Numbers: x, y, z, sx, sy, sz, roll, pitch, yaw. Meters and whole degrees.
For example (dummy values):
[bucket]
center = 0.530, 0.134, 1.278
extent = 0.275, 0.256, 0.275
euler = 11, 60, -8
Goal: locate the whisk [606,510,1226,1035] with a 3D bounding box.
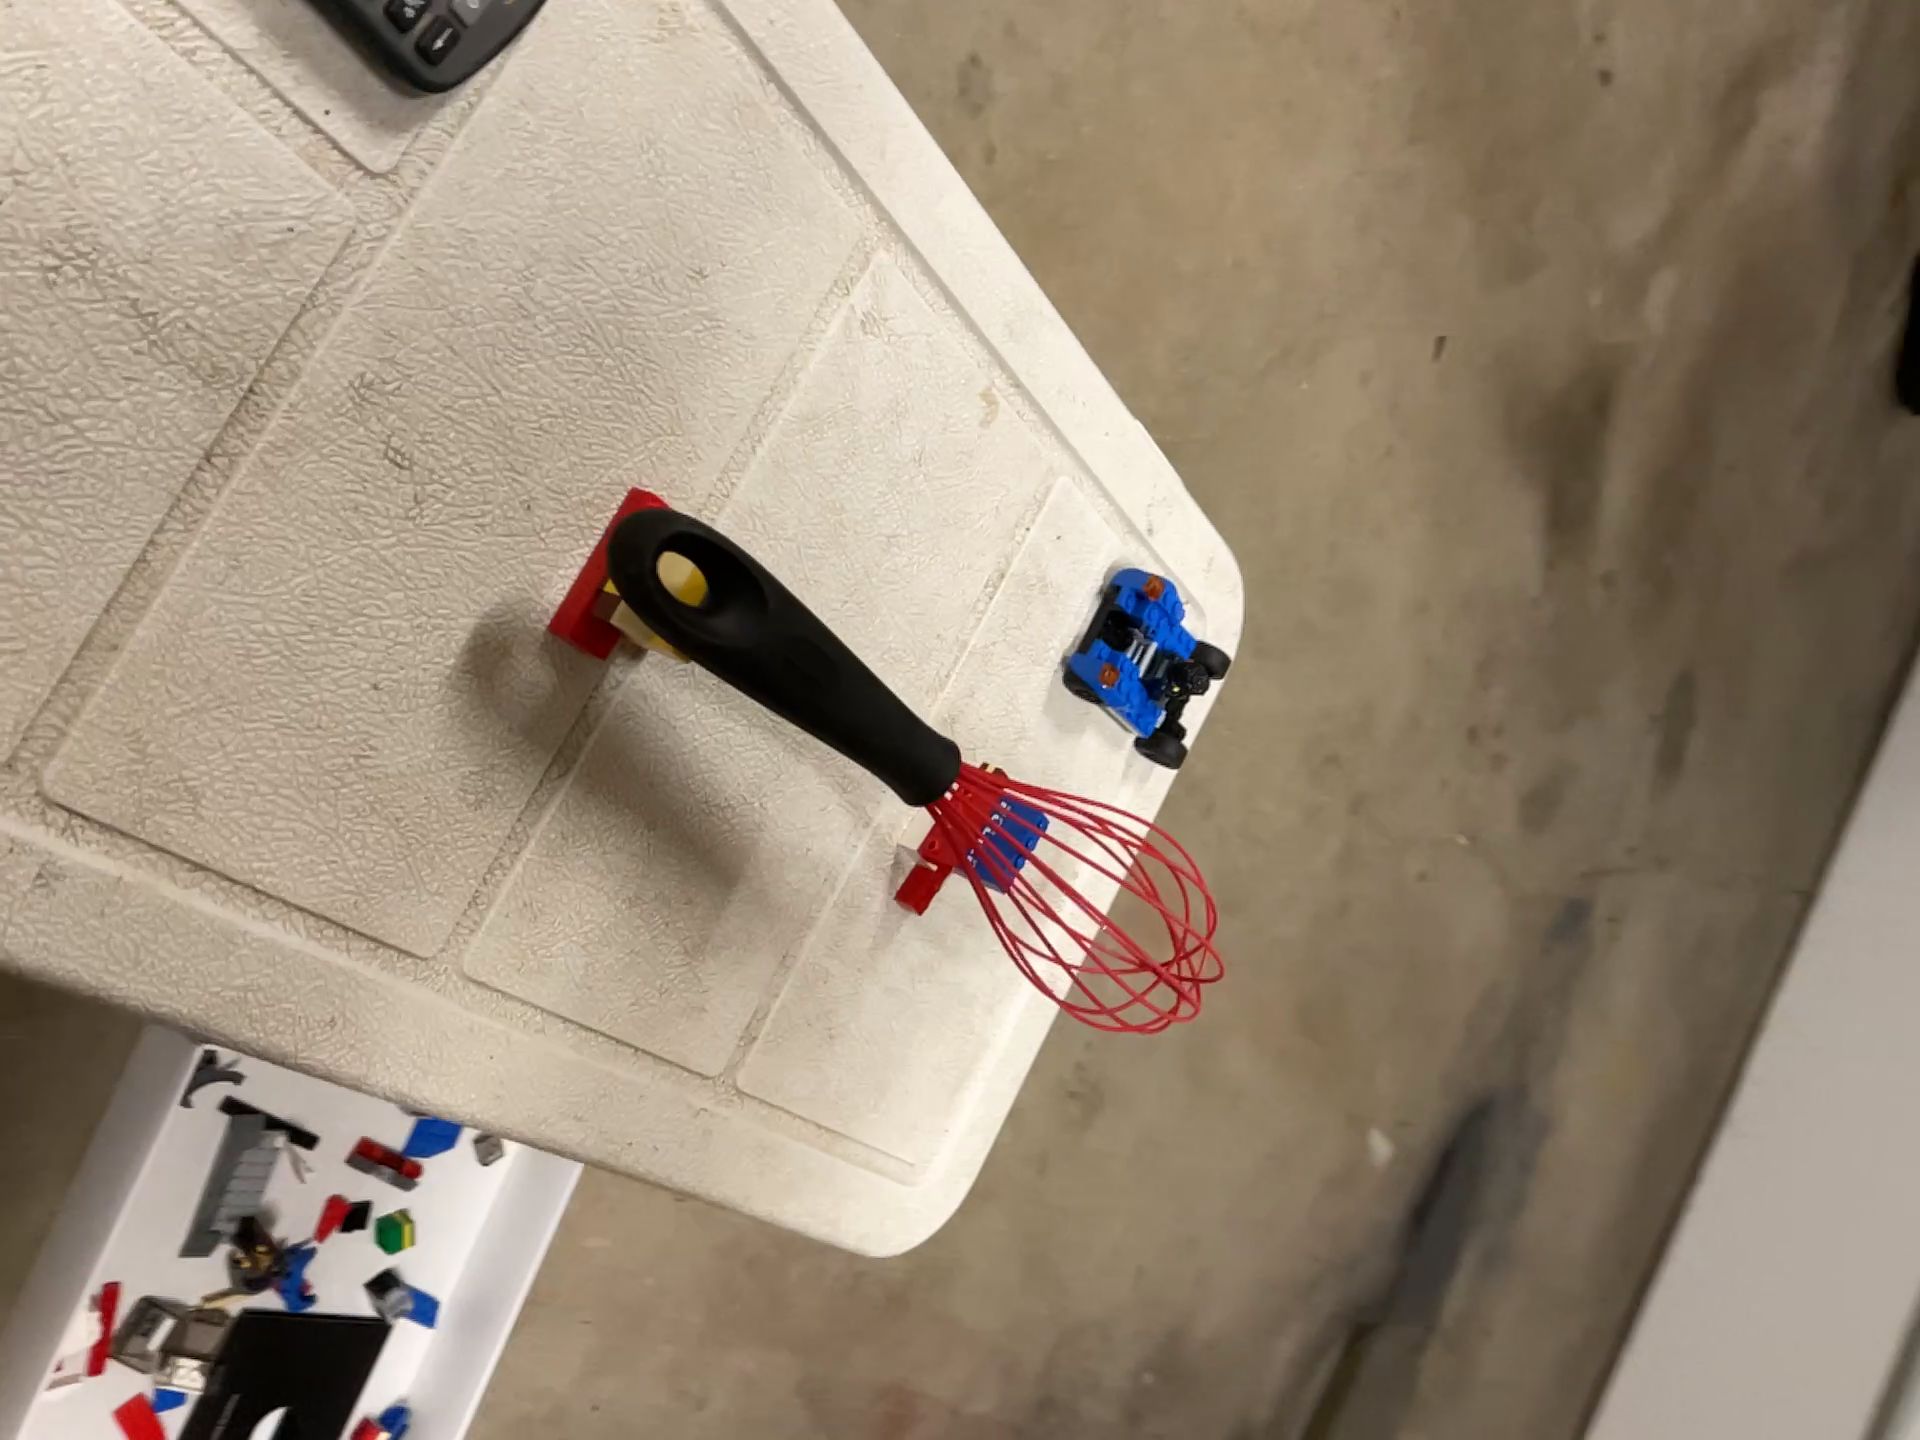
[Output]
[whisk]
center = 0.001, 0.026, 0.495
extent = 0.295, 0.073, 0.073
euler = 40, 77, -40
